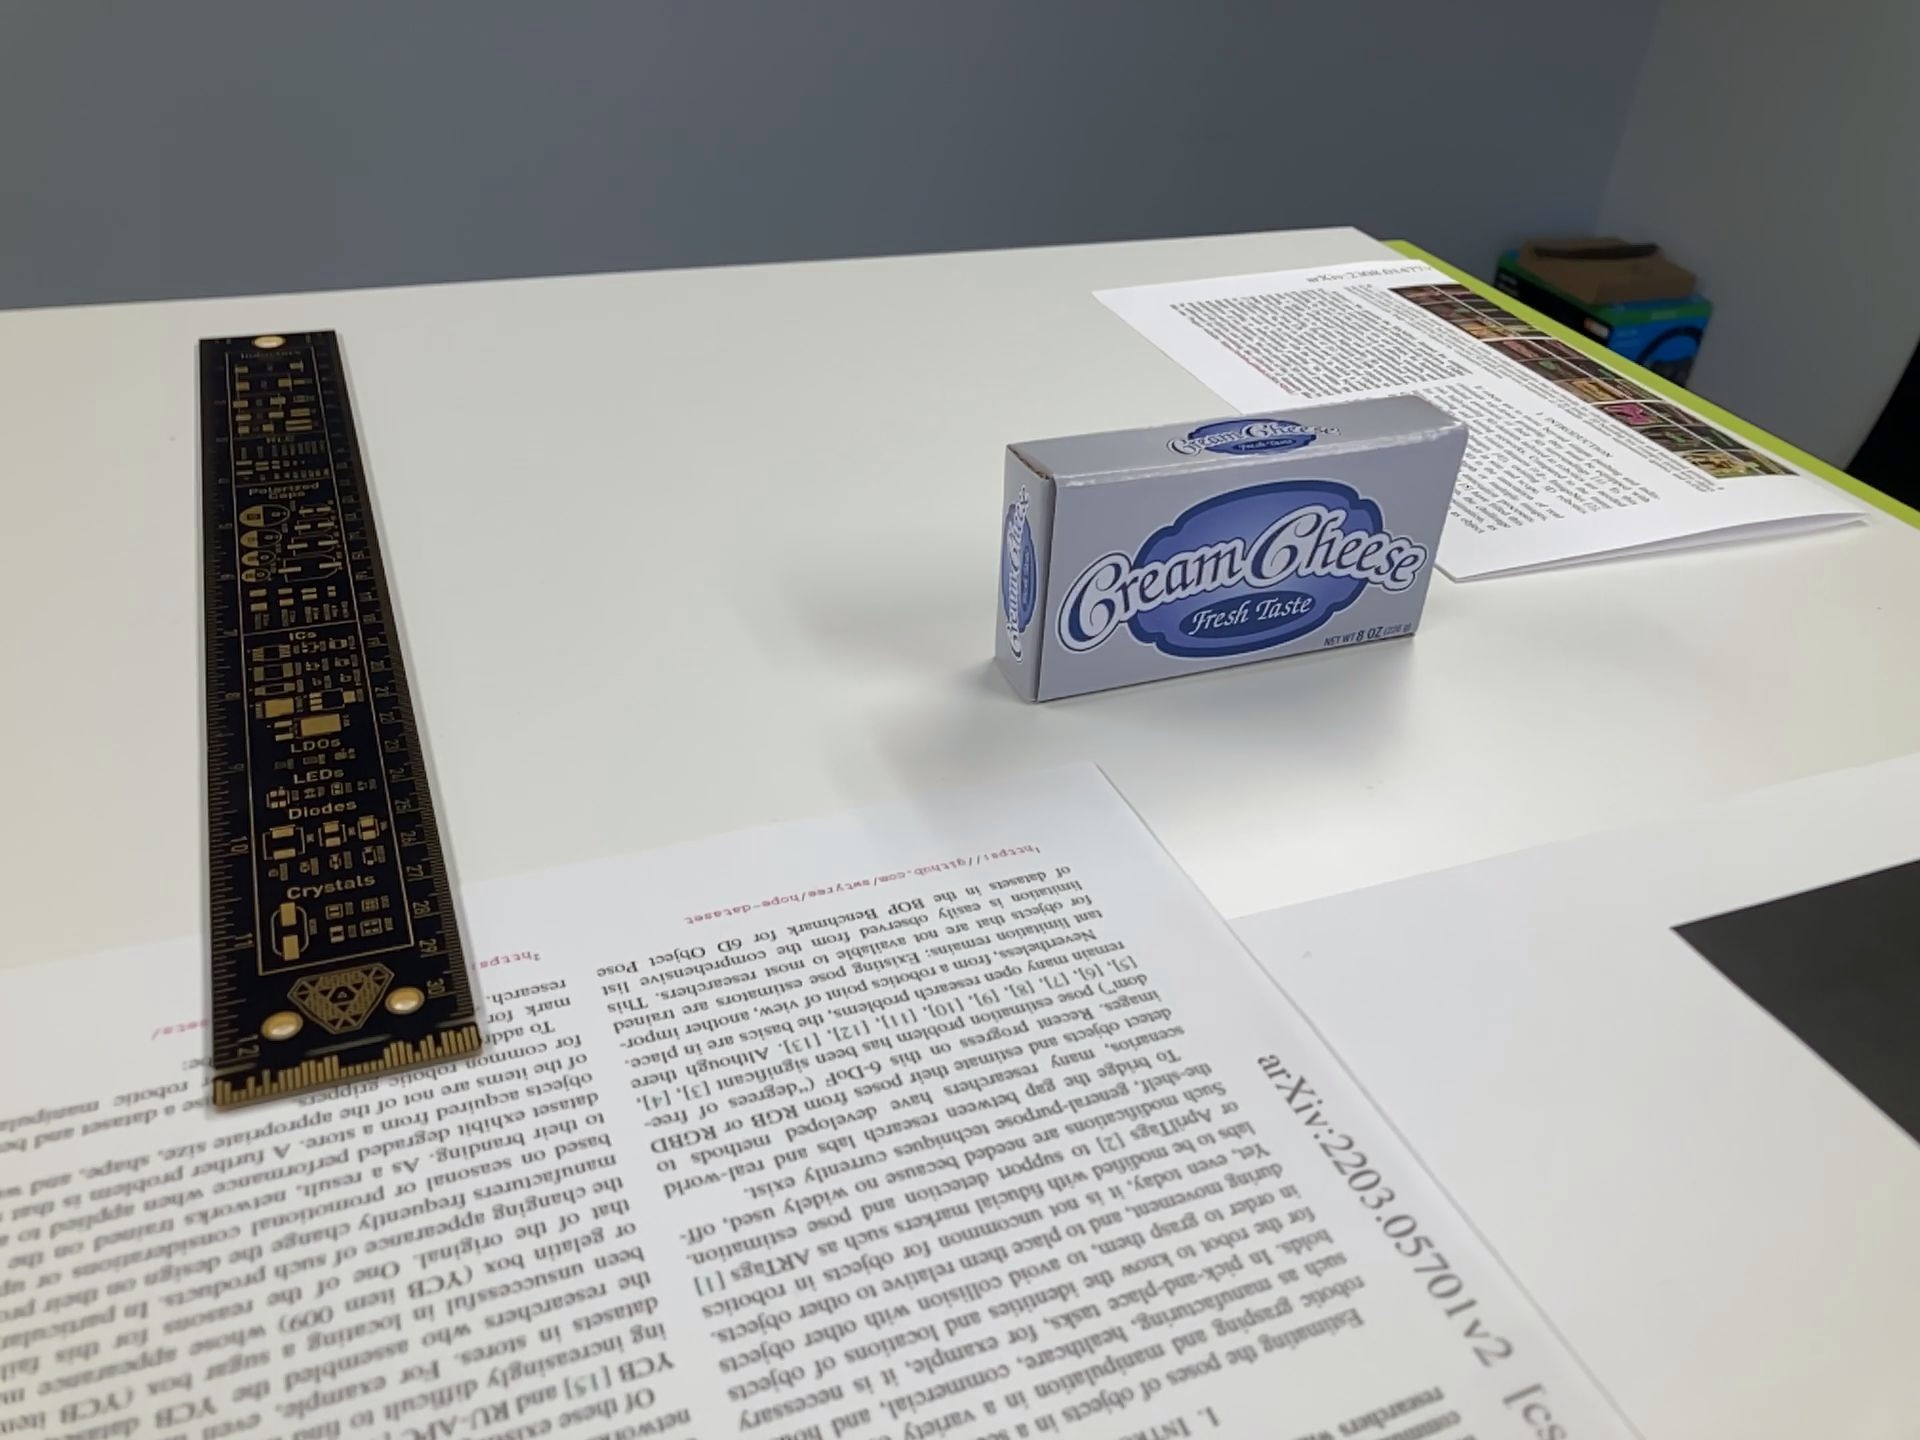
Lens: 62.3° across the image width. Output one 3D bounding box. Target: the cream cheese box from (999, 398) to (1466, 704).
[{"bbox_3d":[0.060,-0.039,0.354,0.104,0.053,0.024,-10,34,-21],"label":"cream cheese box"}]
